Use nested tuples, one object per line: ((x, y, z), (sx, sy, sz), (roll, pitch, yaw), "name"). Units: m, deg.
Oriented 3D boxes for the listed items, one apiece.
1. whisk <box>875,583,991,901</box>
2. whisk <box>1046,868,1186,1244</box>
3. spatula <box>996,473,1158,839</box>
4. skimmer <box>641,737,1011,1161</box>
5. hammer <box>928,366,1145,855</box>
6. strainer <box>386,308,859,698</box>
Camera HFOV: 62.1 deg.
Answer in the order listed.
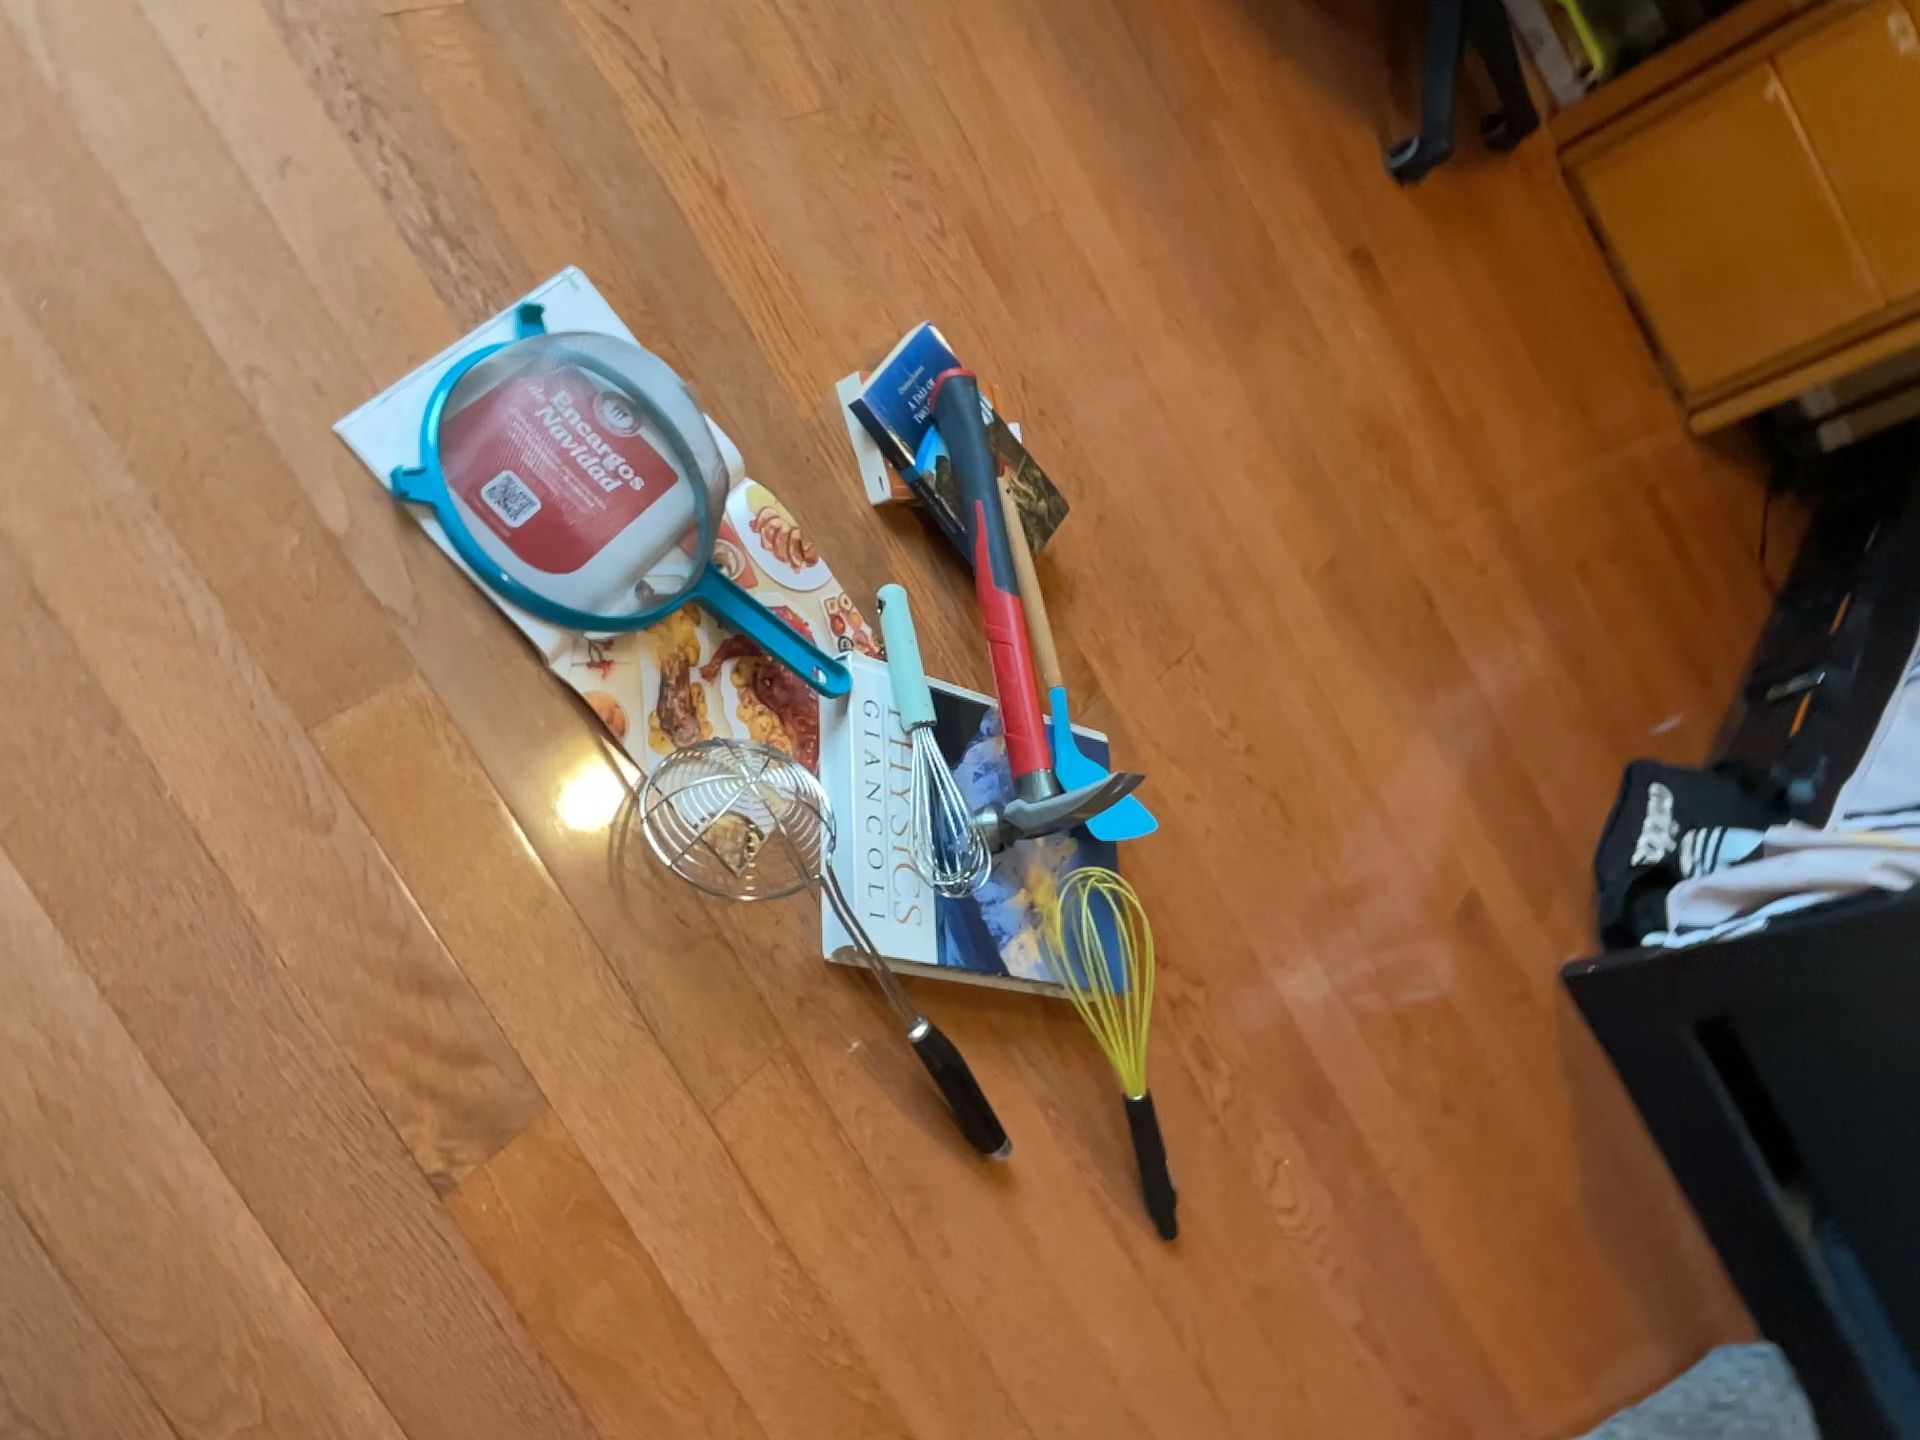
((-0.027, 0.012, 1.144), (0.059, 0.057, 0.247), (-7, 70, -16), "whisk")
((0.127, 0.259, 1.204), (0.080, 0.067, 0.311), (-40, 117, -63), "whisk")
((0.078, -0.054, 1.277), (0.082, 0.044, 0.318), (-4, 75, -45), "spatula")
((-0.080, 0.167, 1.080), (0.363, 0.090, 0.128), (60, 38, -23), "skimmer")
((0.039, -0.103, 1.201), (0.038, 0.143, 0.387), (12, 61, -46), "hammer")
((-0.183, -0.132, 1.048), (0.340, 0.095, 0.211), (37, 48, -19), "strainer")
